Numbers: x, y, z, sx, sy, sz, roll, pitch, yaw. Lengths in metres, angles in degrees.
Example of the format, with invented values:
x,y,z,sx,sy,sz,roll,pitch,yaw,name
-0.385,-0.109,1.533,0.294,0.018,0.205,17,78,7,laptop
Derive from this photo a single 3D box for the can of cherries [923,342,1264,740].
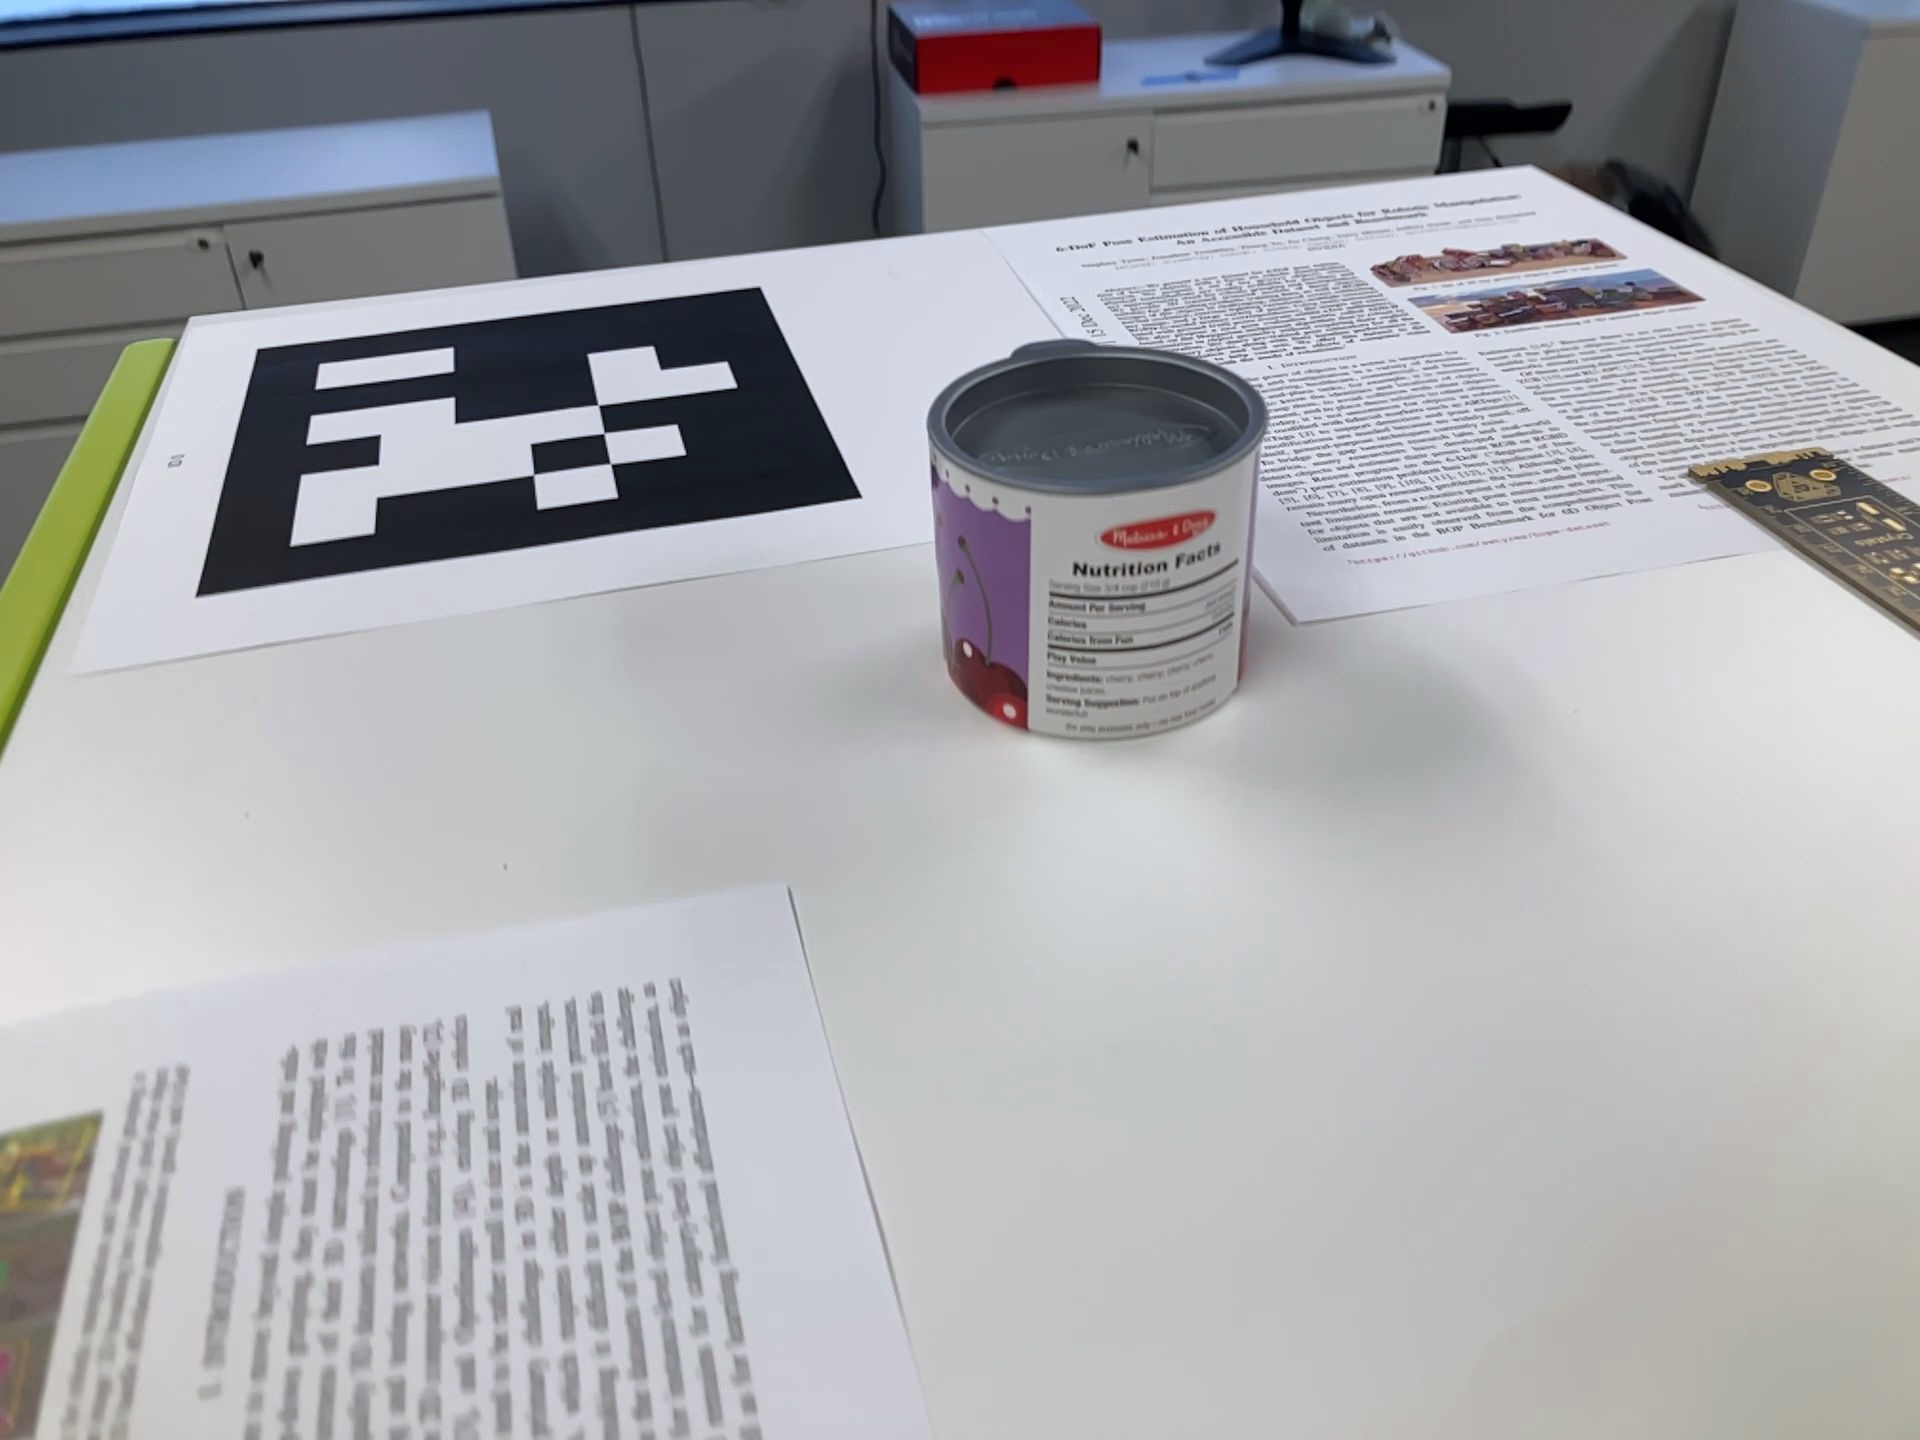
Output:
x,y,z,sx,sy,sz,roll,pitch,yaw,name
0.026,-0.039,0.327,0.071,0.058,0.071,-2,35,1,can of cherries
